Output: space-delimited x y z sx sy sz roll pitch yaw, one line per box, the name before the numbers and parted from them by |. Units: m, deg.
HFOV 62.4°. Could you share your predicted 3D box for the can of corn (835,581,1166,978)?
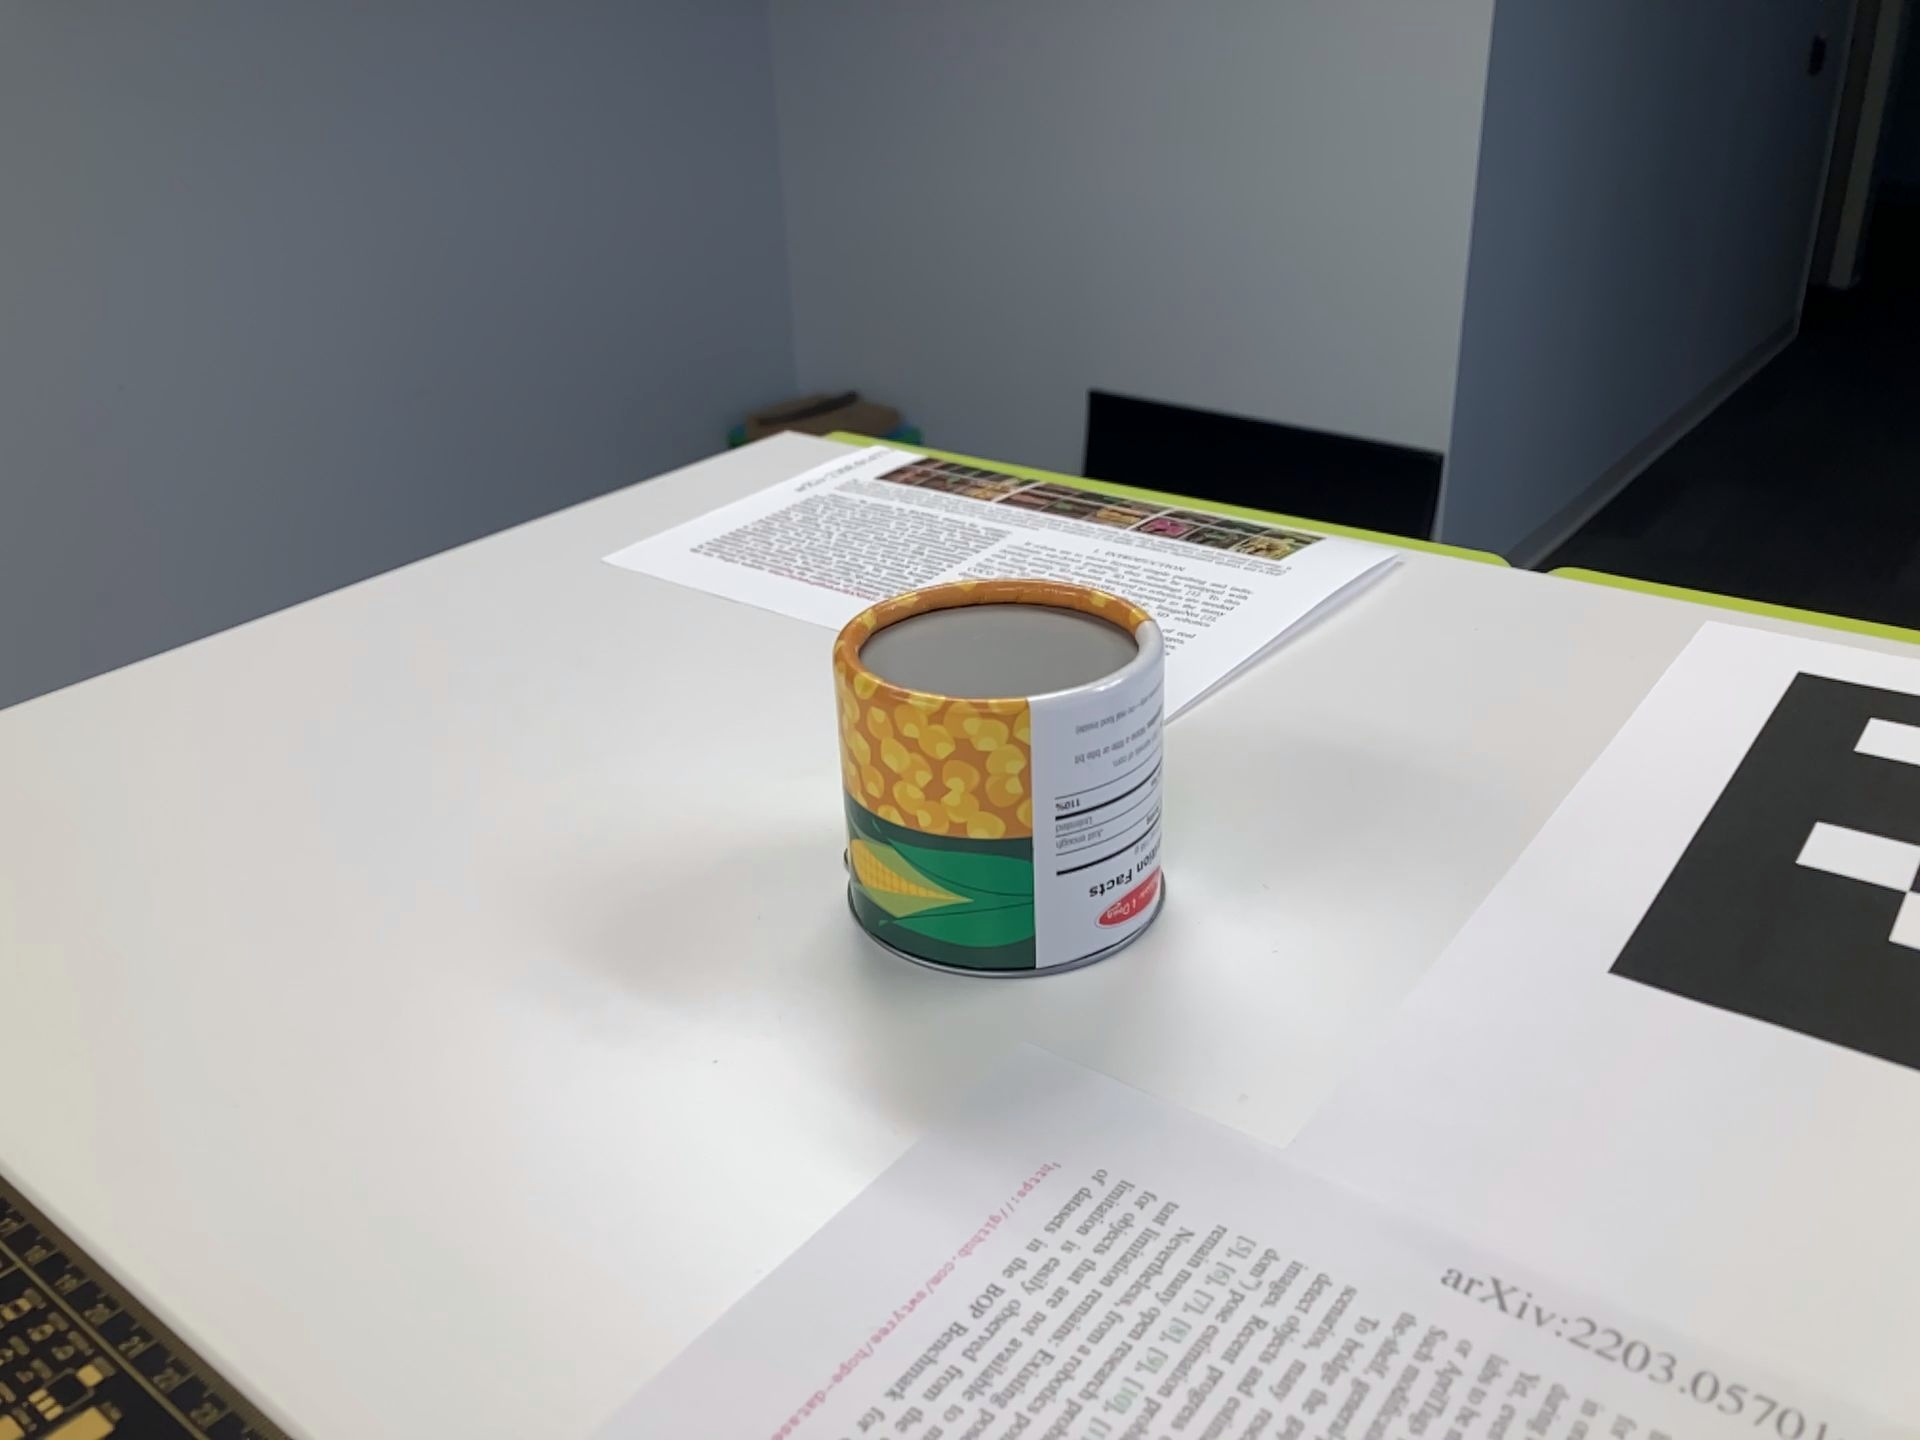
can of corn | 0.007 0.009 0.325 0.071 0.058 0.071 -2 26 1
